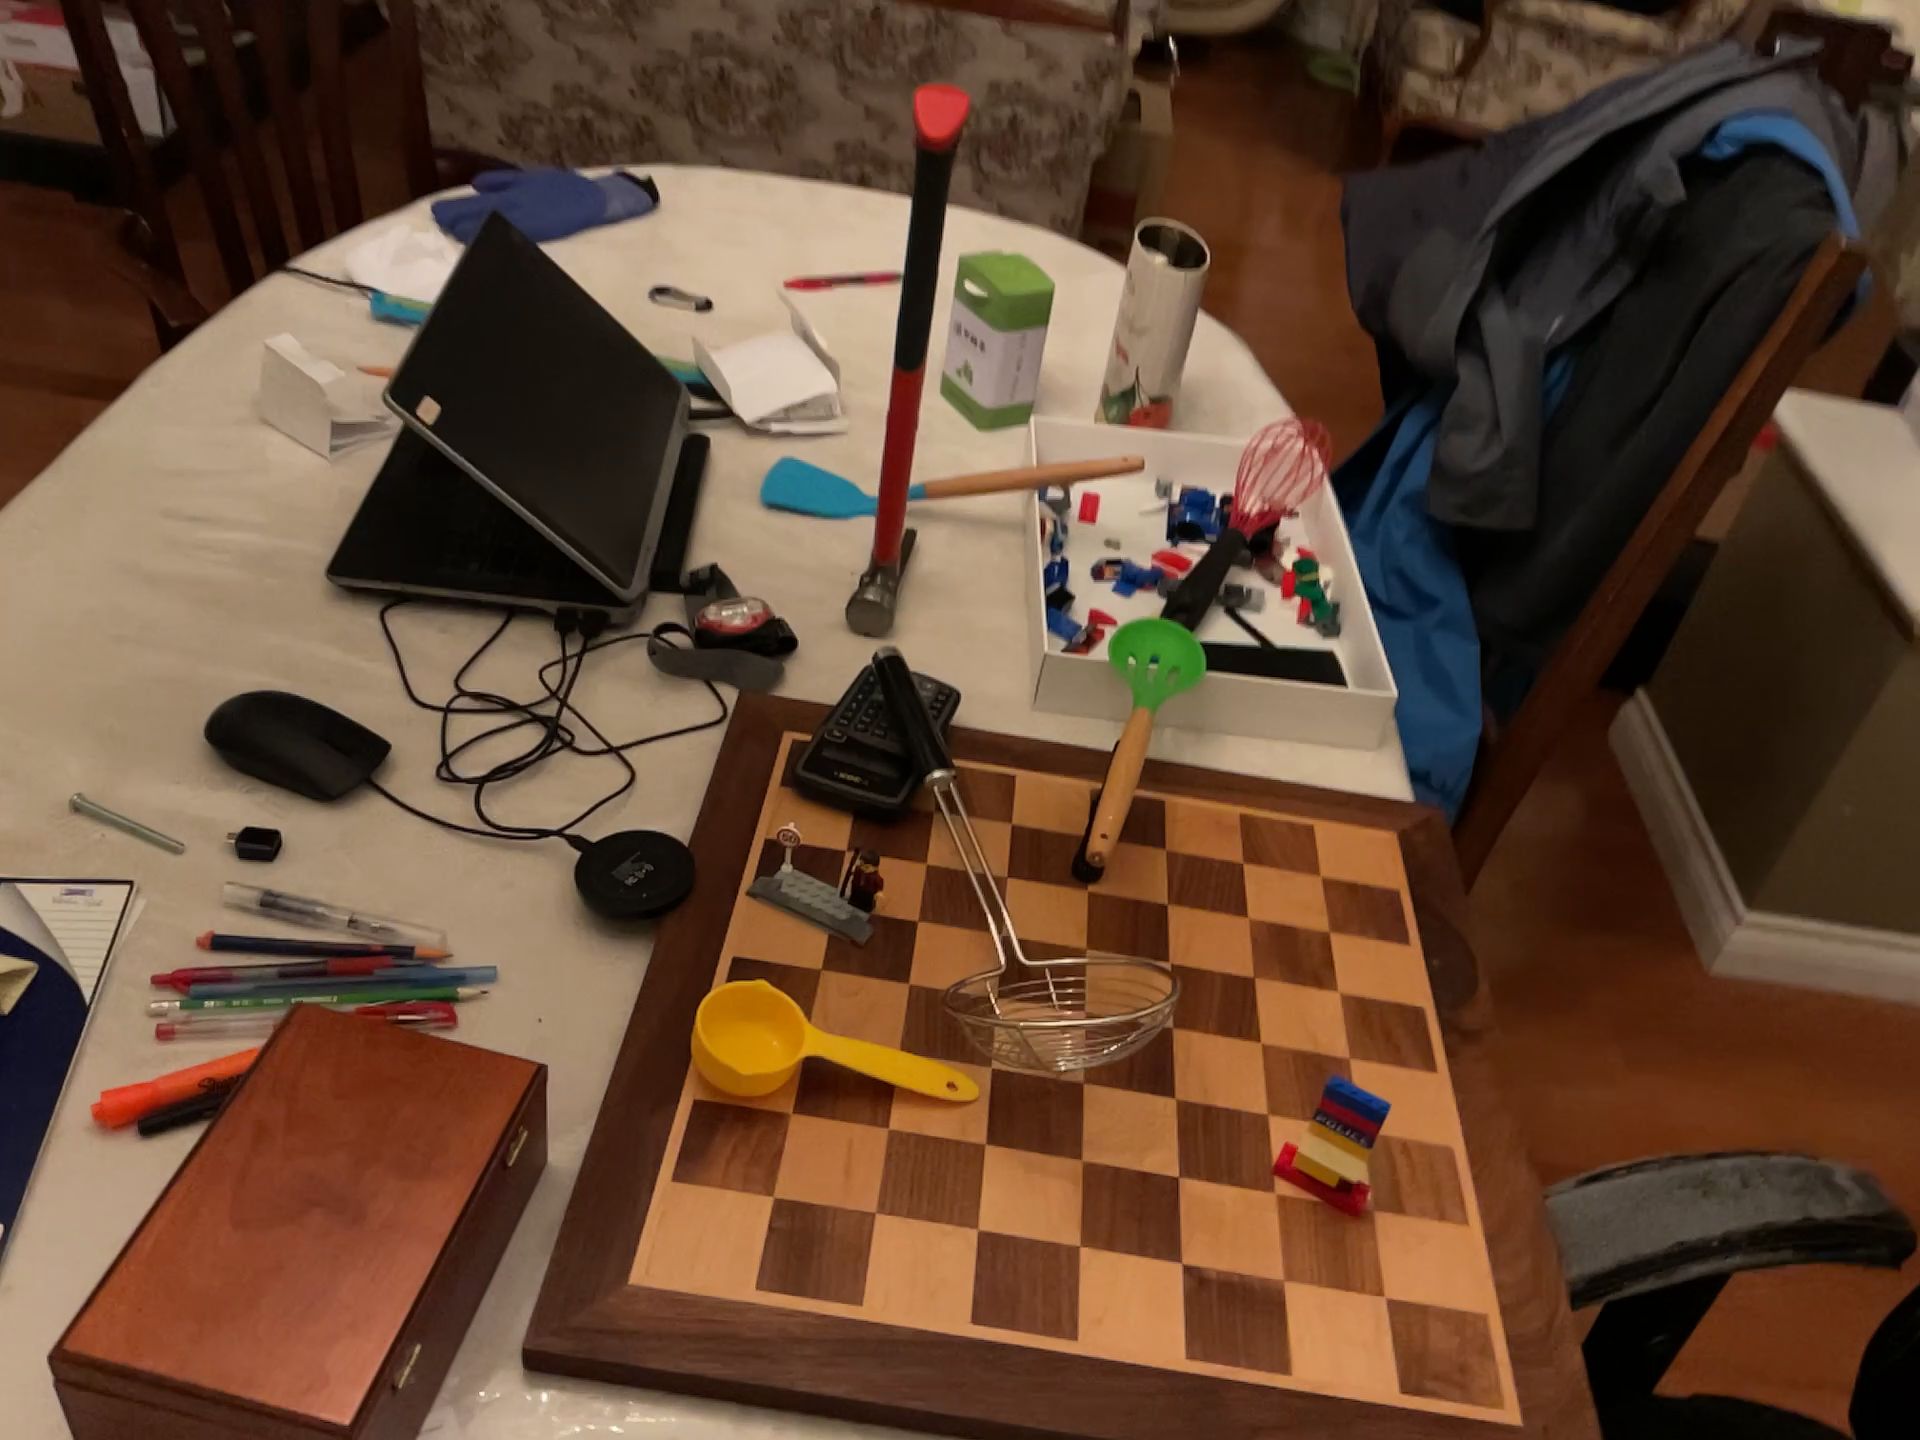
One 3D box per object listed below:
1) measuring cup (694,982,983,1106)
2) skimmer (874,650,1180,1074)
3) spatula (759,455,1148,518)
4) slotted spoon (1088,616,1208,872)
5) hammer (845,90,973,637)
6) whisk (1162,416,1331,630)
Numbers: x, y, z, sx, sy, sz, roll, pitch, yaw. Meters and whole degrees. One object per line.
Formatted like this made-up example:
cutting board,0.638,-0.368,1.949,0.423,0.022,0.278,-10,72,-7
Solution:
measuring cup,-0.065,0.183,0.836,0.156,0.029,0.062,19,34,-9
skimmer,0.013,0.061,0.940,0.127,0.090,0.364,-7,45,-19
spatula,-0.005,-0.201,1.309,0.318,0.044,0.082,-5,34,15
slotted spoon,0.111,0.010,1.006,0.070,0.031,0.313,17,29,6
hammer,-0.034,-0.254,1.135,0.038,0.386,0.143,11,38,1
whisk,0.237,-0.162,1.324,0.073,0.073,0.295,12,48,33
